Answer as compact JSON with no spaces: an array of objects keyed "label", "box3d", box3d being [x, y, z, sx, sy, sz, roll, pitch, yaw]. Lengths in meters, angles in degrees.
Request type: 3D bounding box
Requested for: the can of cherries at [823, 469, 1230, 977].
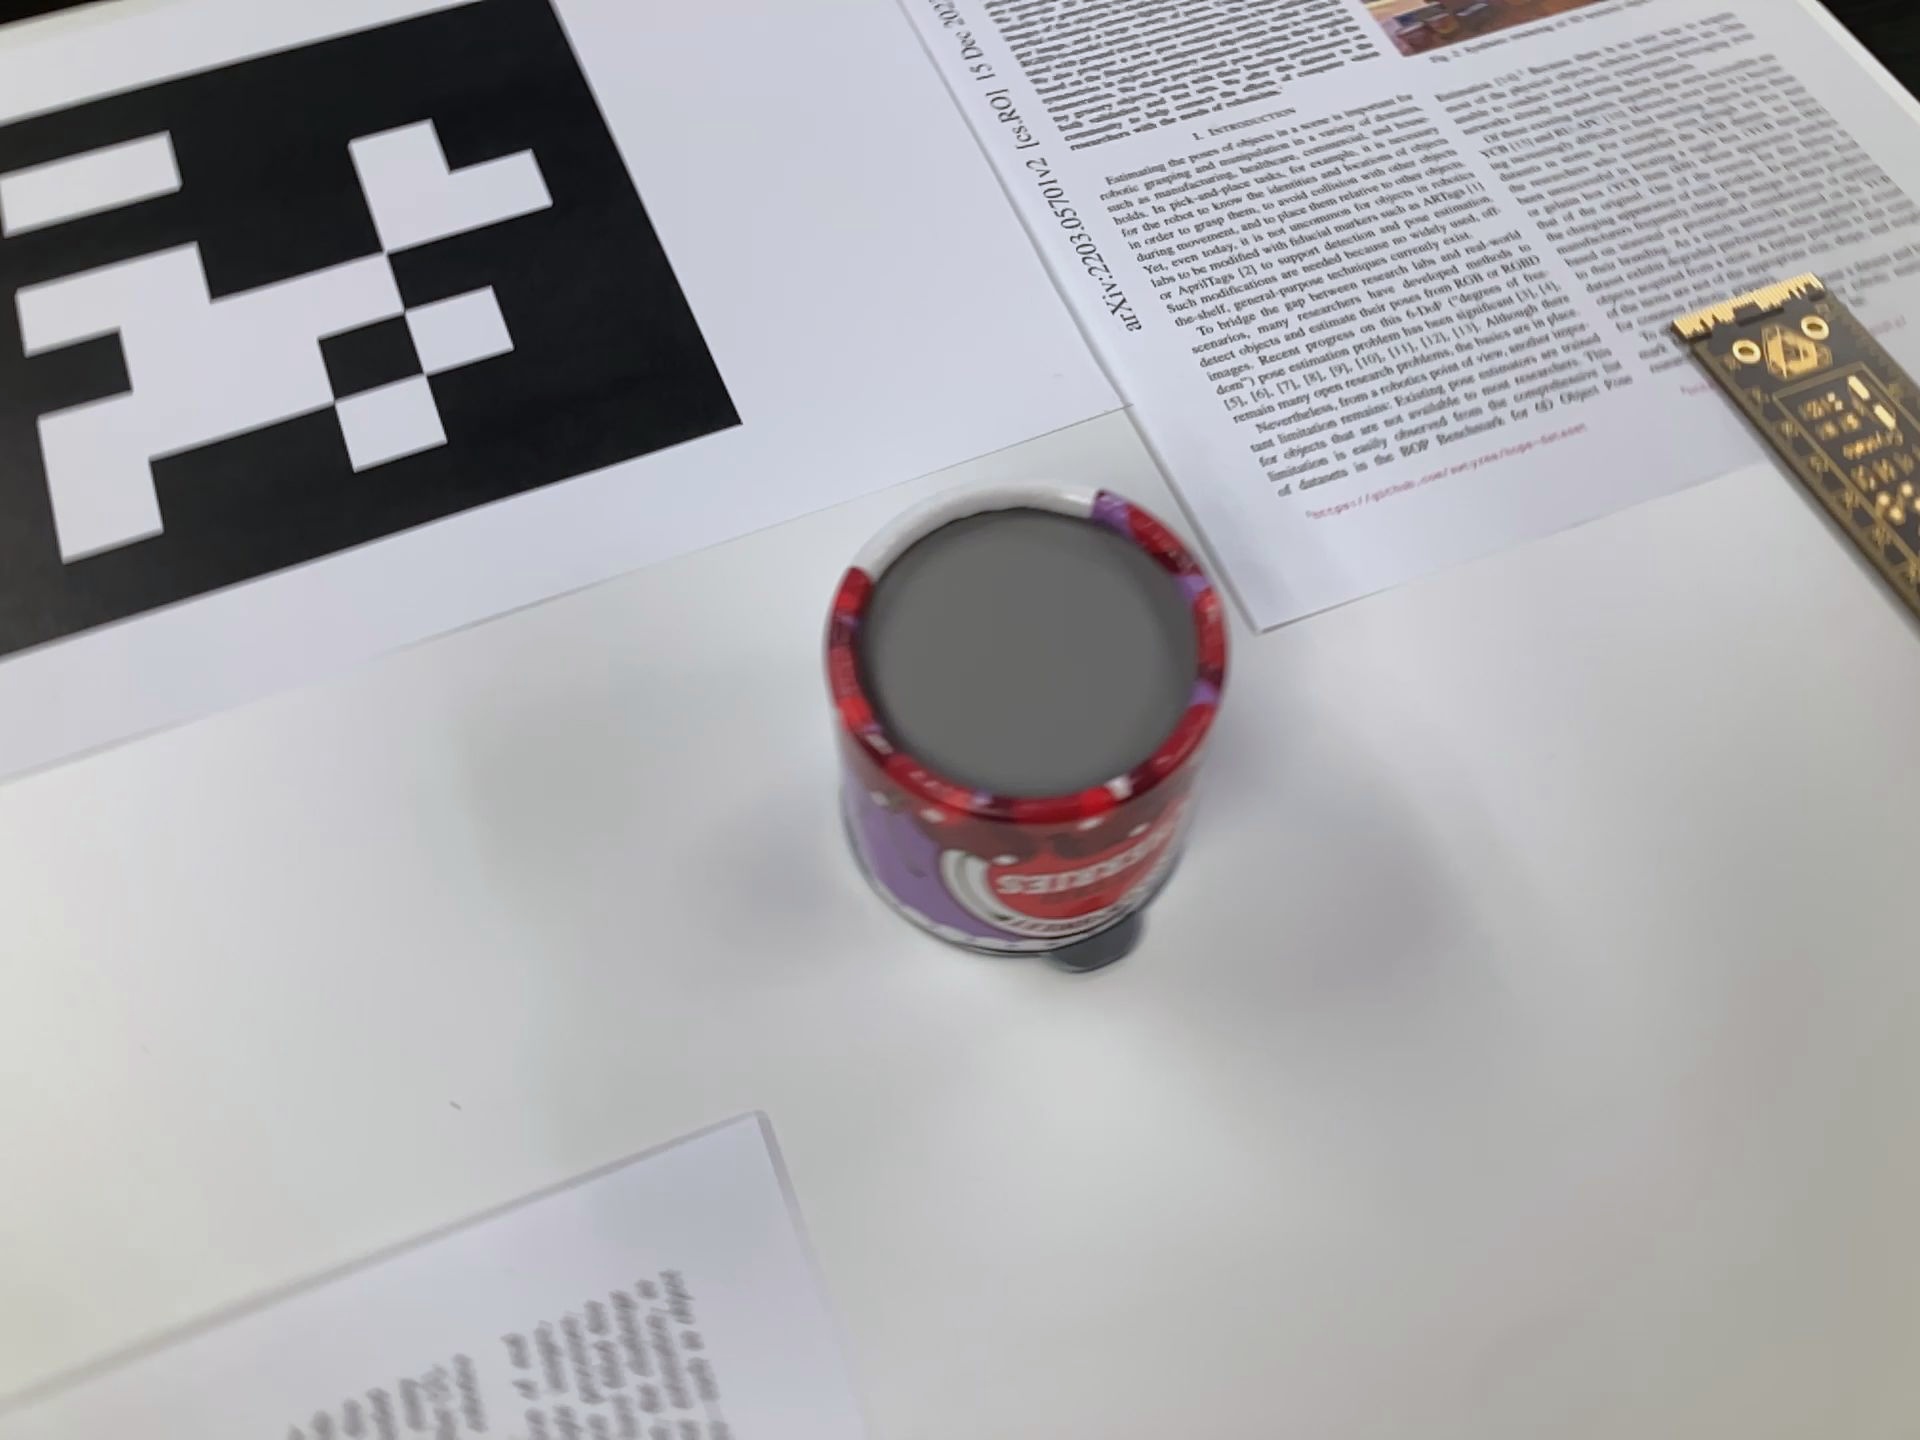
[{"label":"can of cherries","box3d":[0.012,0.001,0.274,0.071,0.058,0.071,0,61,0]}]
